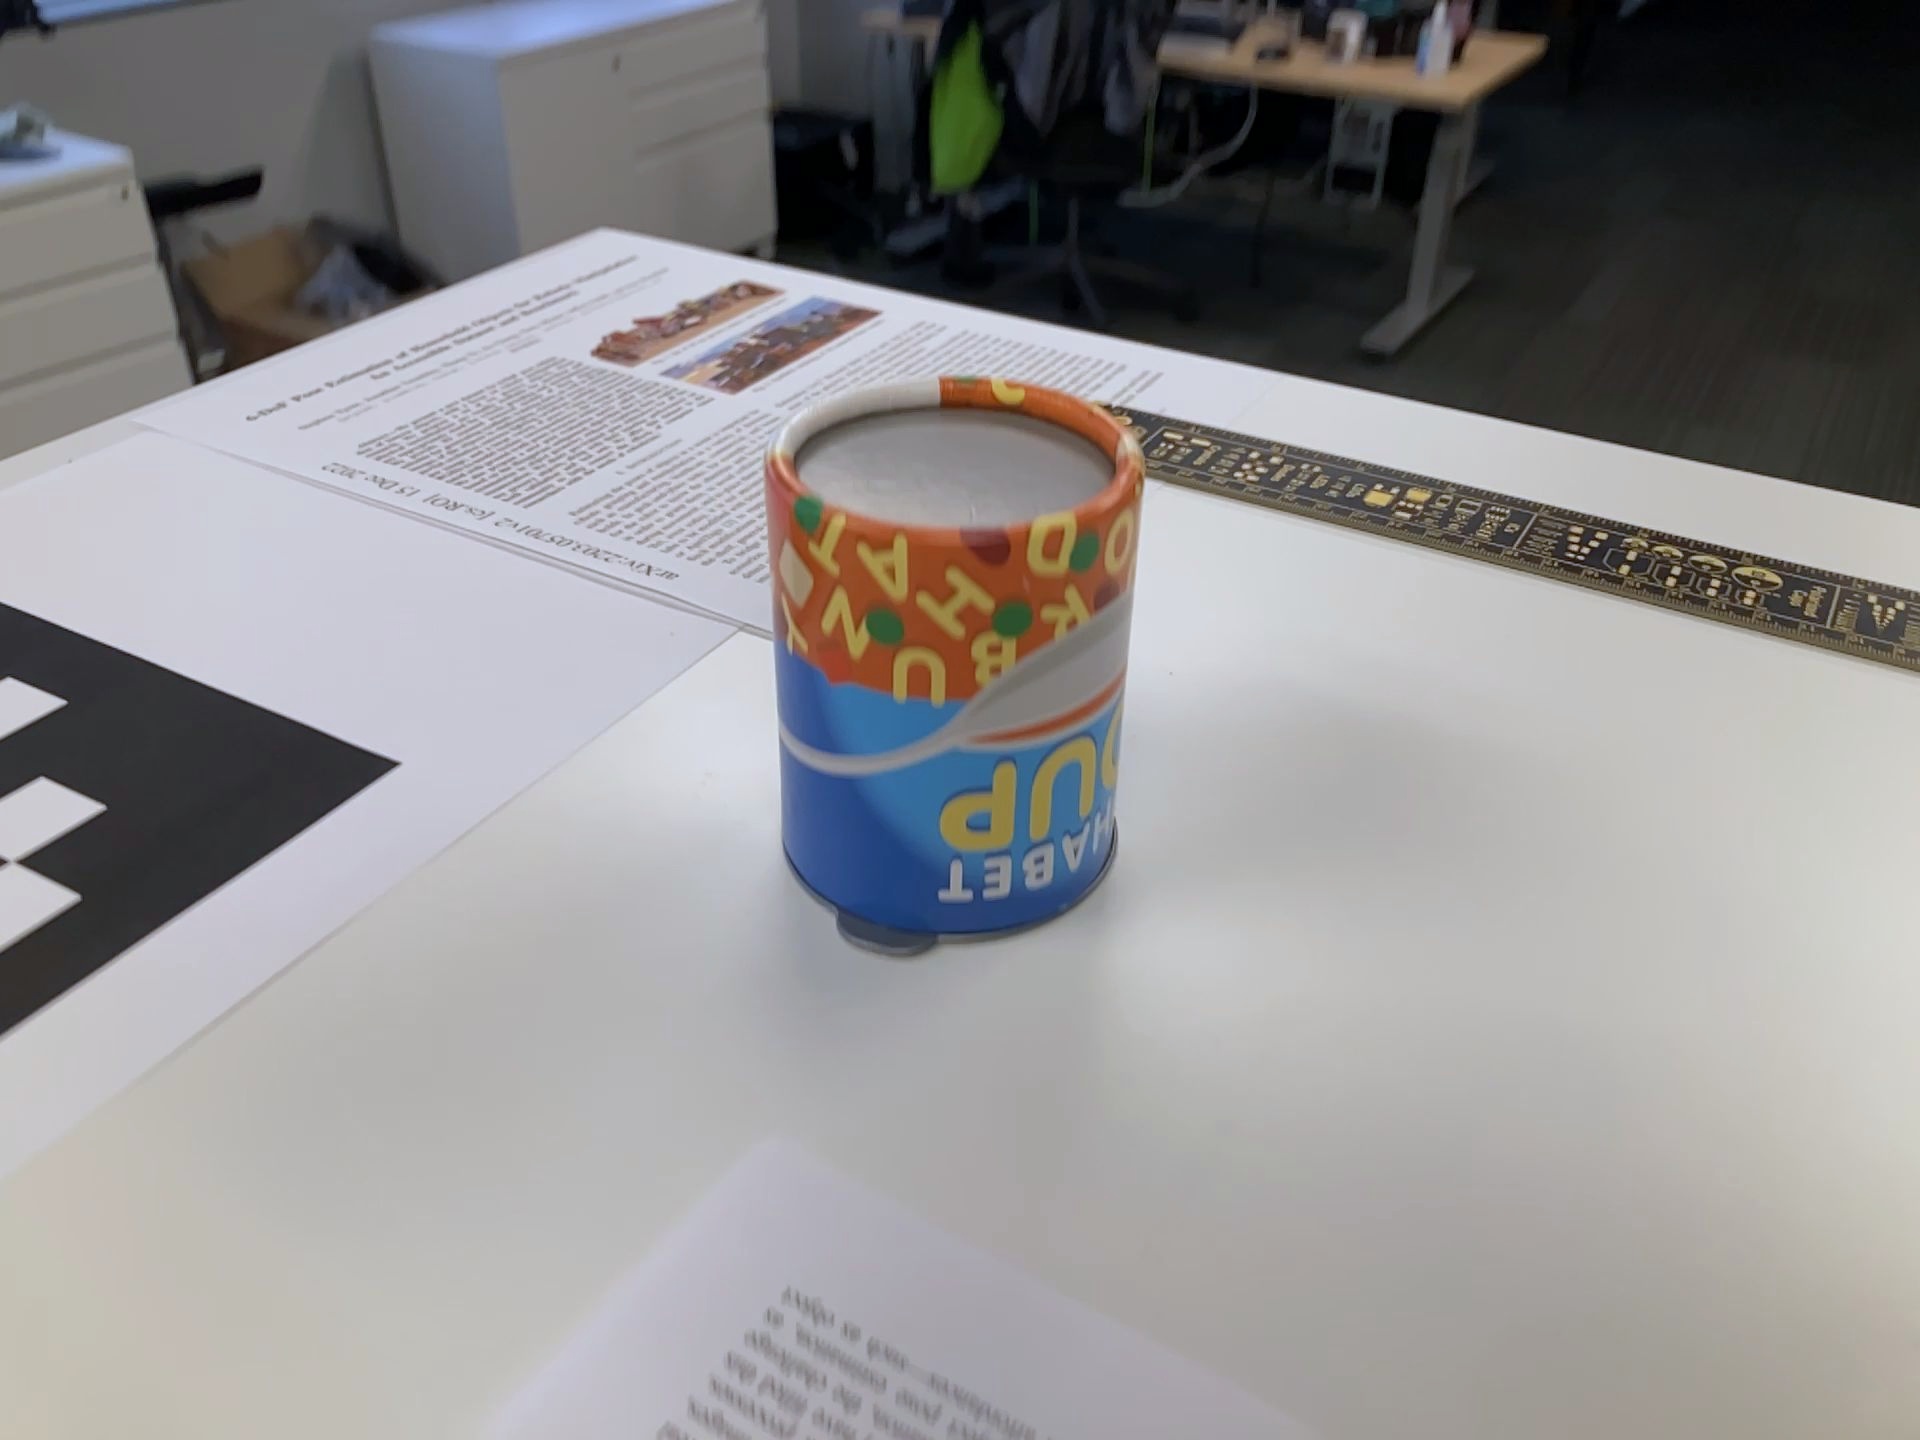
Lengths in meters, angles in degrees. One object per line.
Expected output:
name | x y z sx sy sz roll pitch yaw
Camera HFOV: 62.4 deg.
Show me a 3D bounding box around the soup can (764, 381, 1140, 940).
soup can | 0.000 -0.011 0.295 0.071 0.084 0.071 1 35 0
